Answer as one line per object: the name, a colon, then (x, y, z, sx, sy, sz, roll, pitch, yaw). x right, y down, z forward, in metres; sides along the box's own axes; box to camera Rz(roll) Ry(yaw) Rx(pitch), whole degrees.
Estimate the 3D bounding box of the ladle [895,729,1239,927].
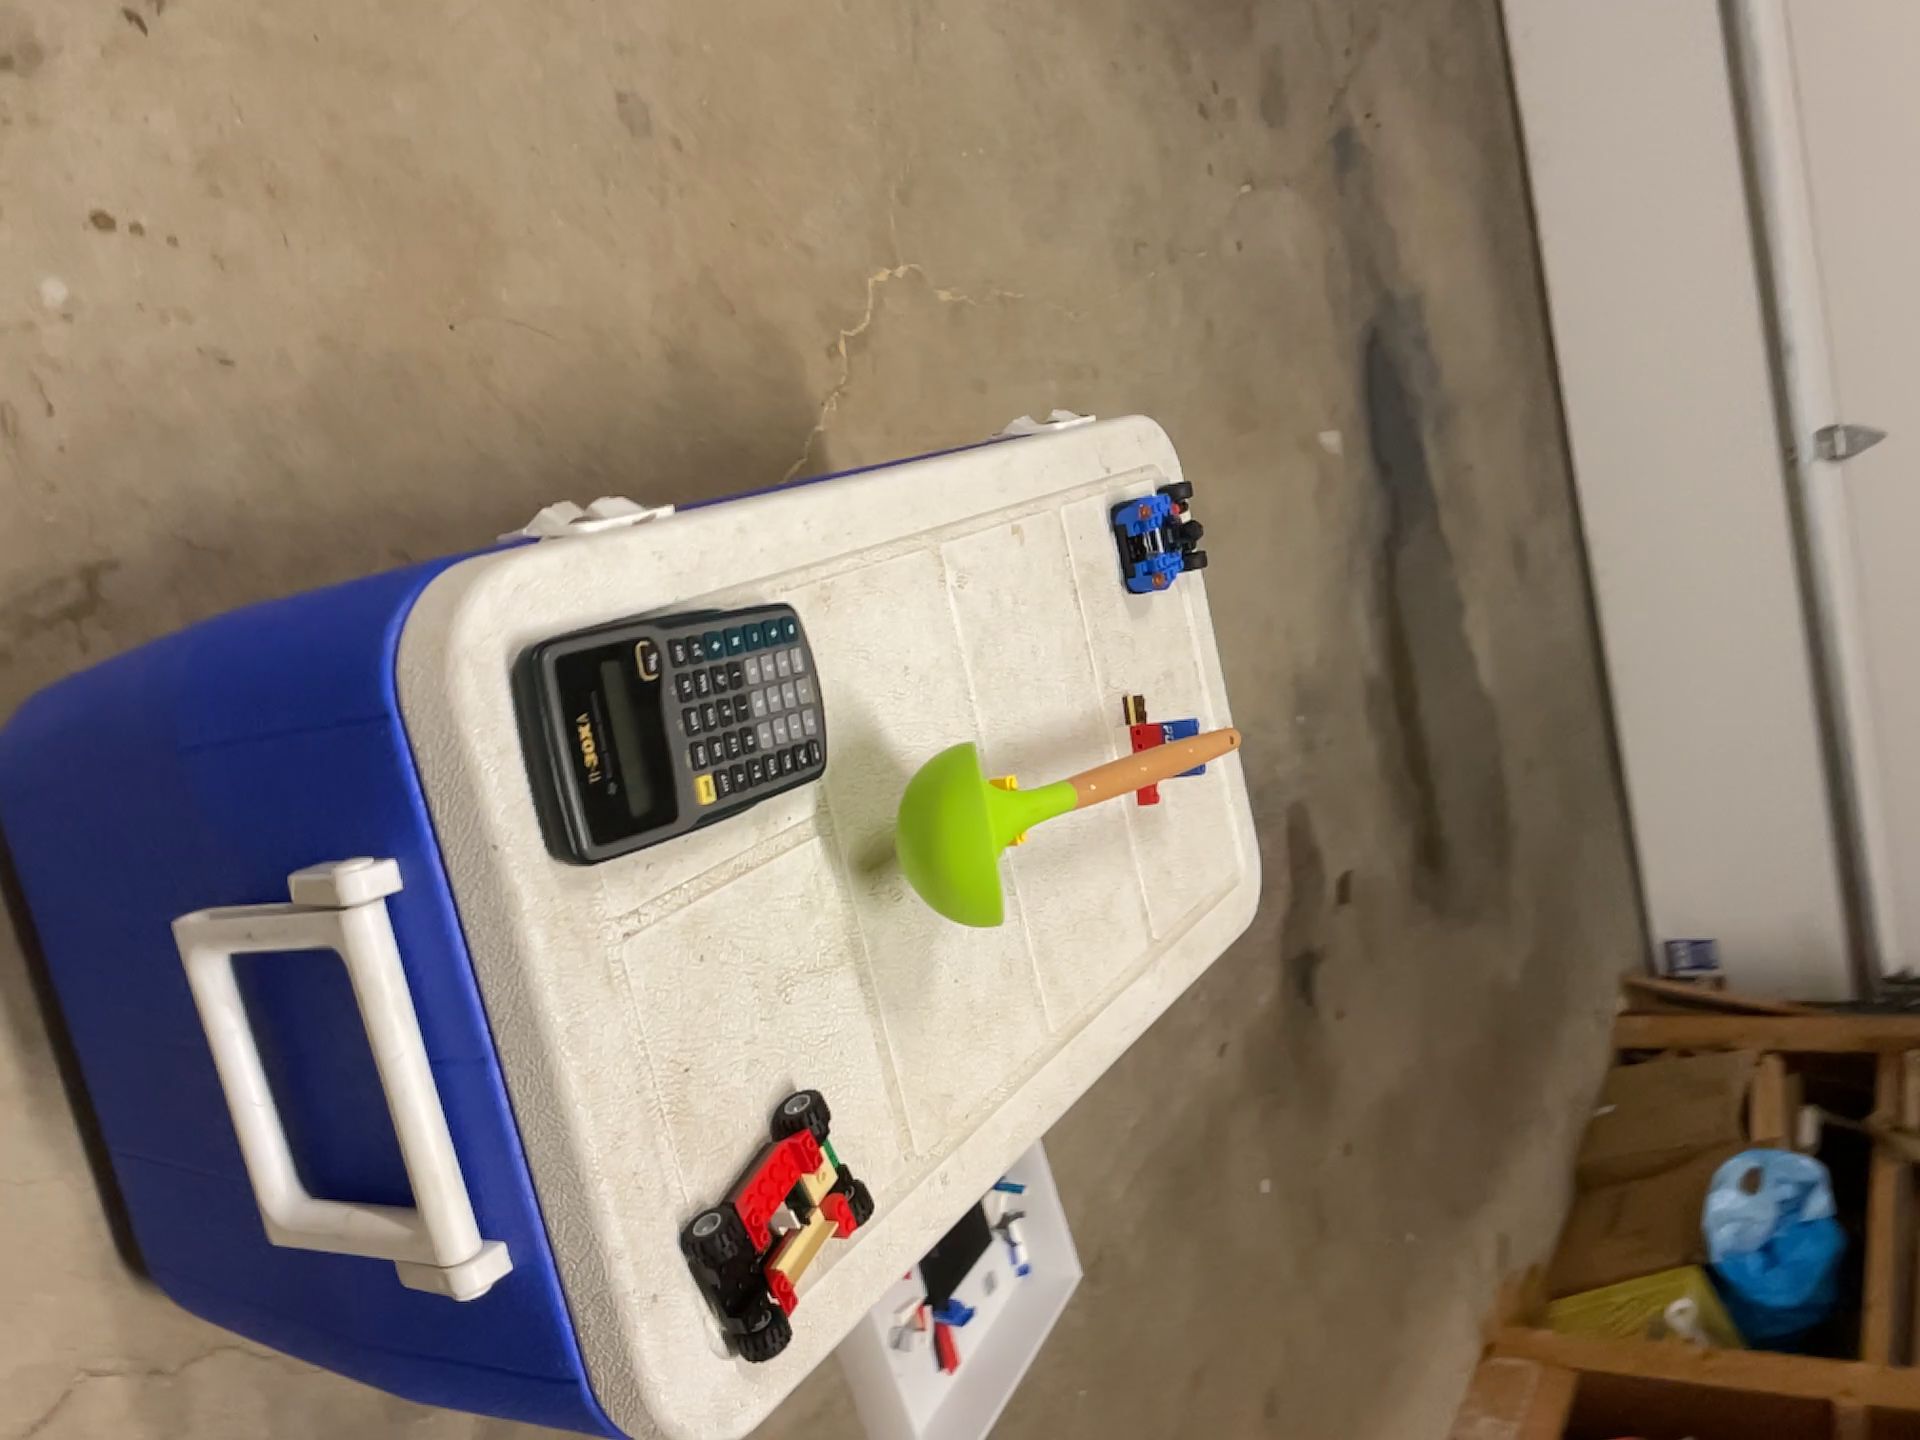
ladle: (0.073, 0.031, 0.765, 0.320, 0.062, 0.078, -14, 95, -55)
